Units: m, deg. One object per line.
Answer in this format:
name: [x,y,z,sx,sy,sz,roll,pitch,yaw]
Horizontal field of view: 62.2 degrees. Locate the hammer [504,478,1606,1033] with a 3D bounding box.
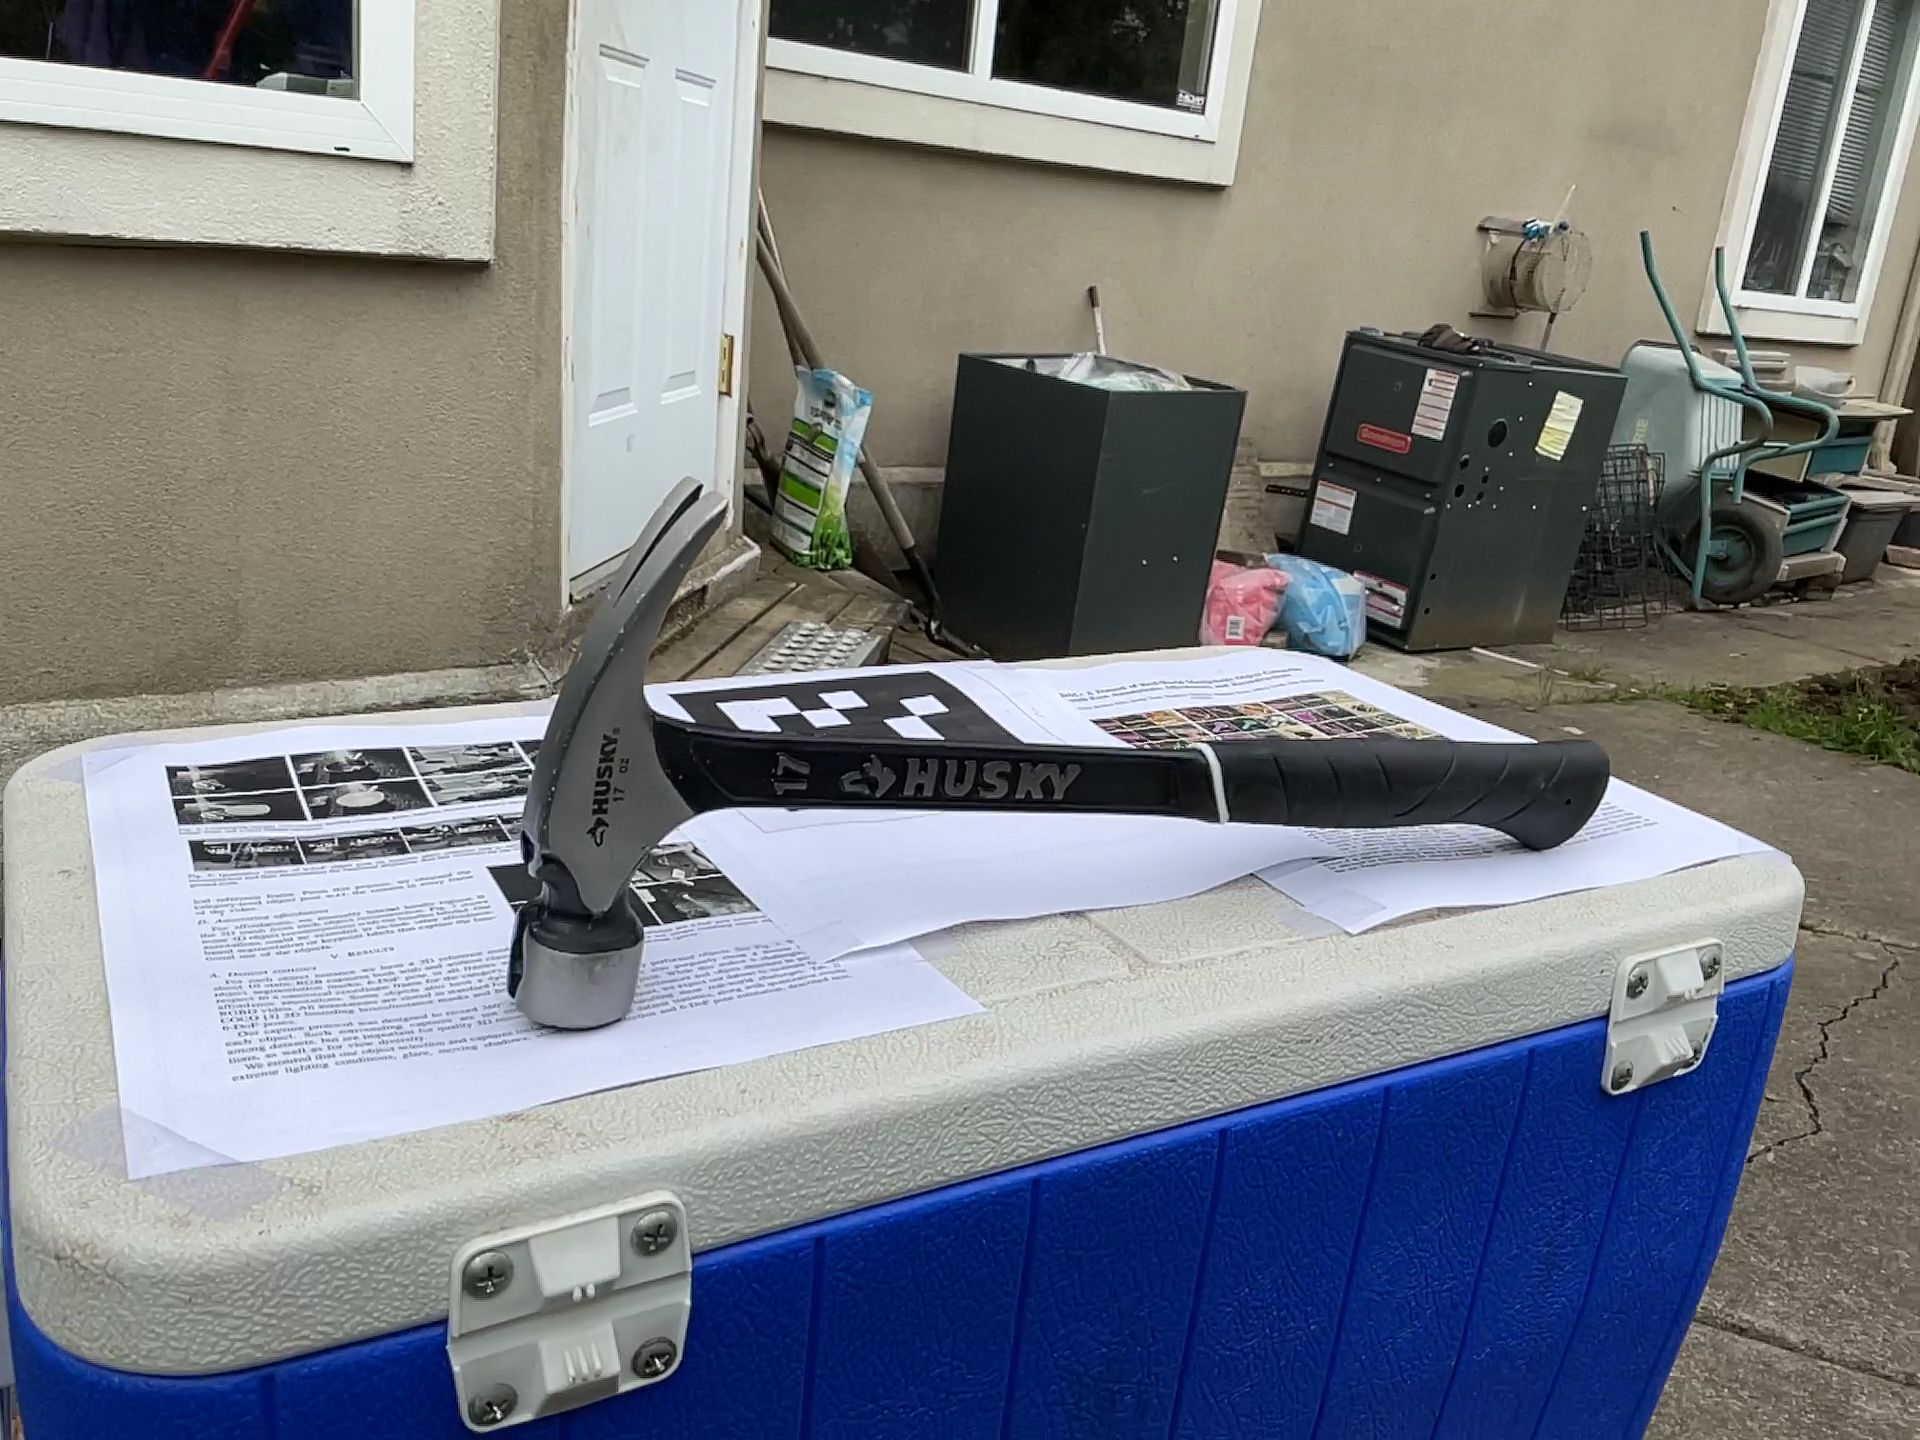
hammer: [0.065,0.016,0.516,0.408,0.149,0.036,2,18,-31]
